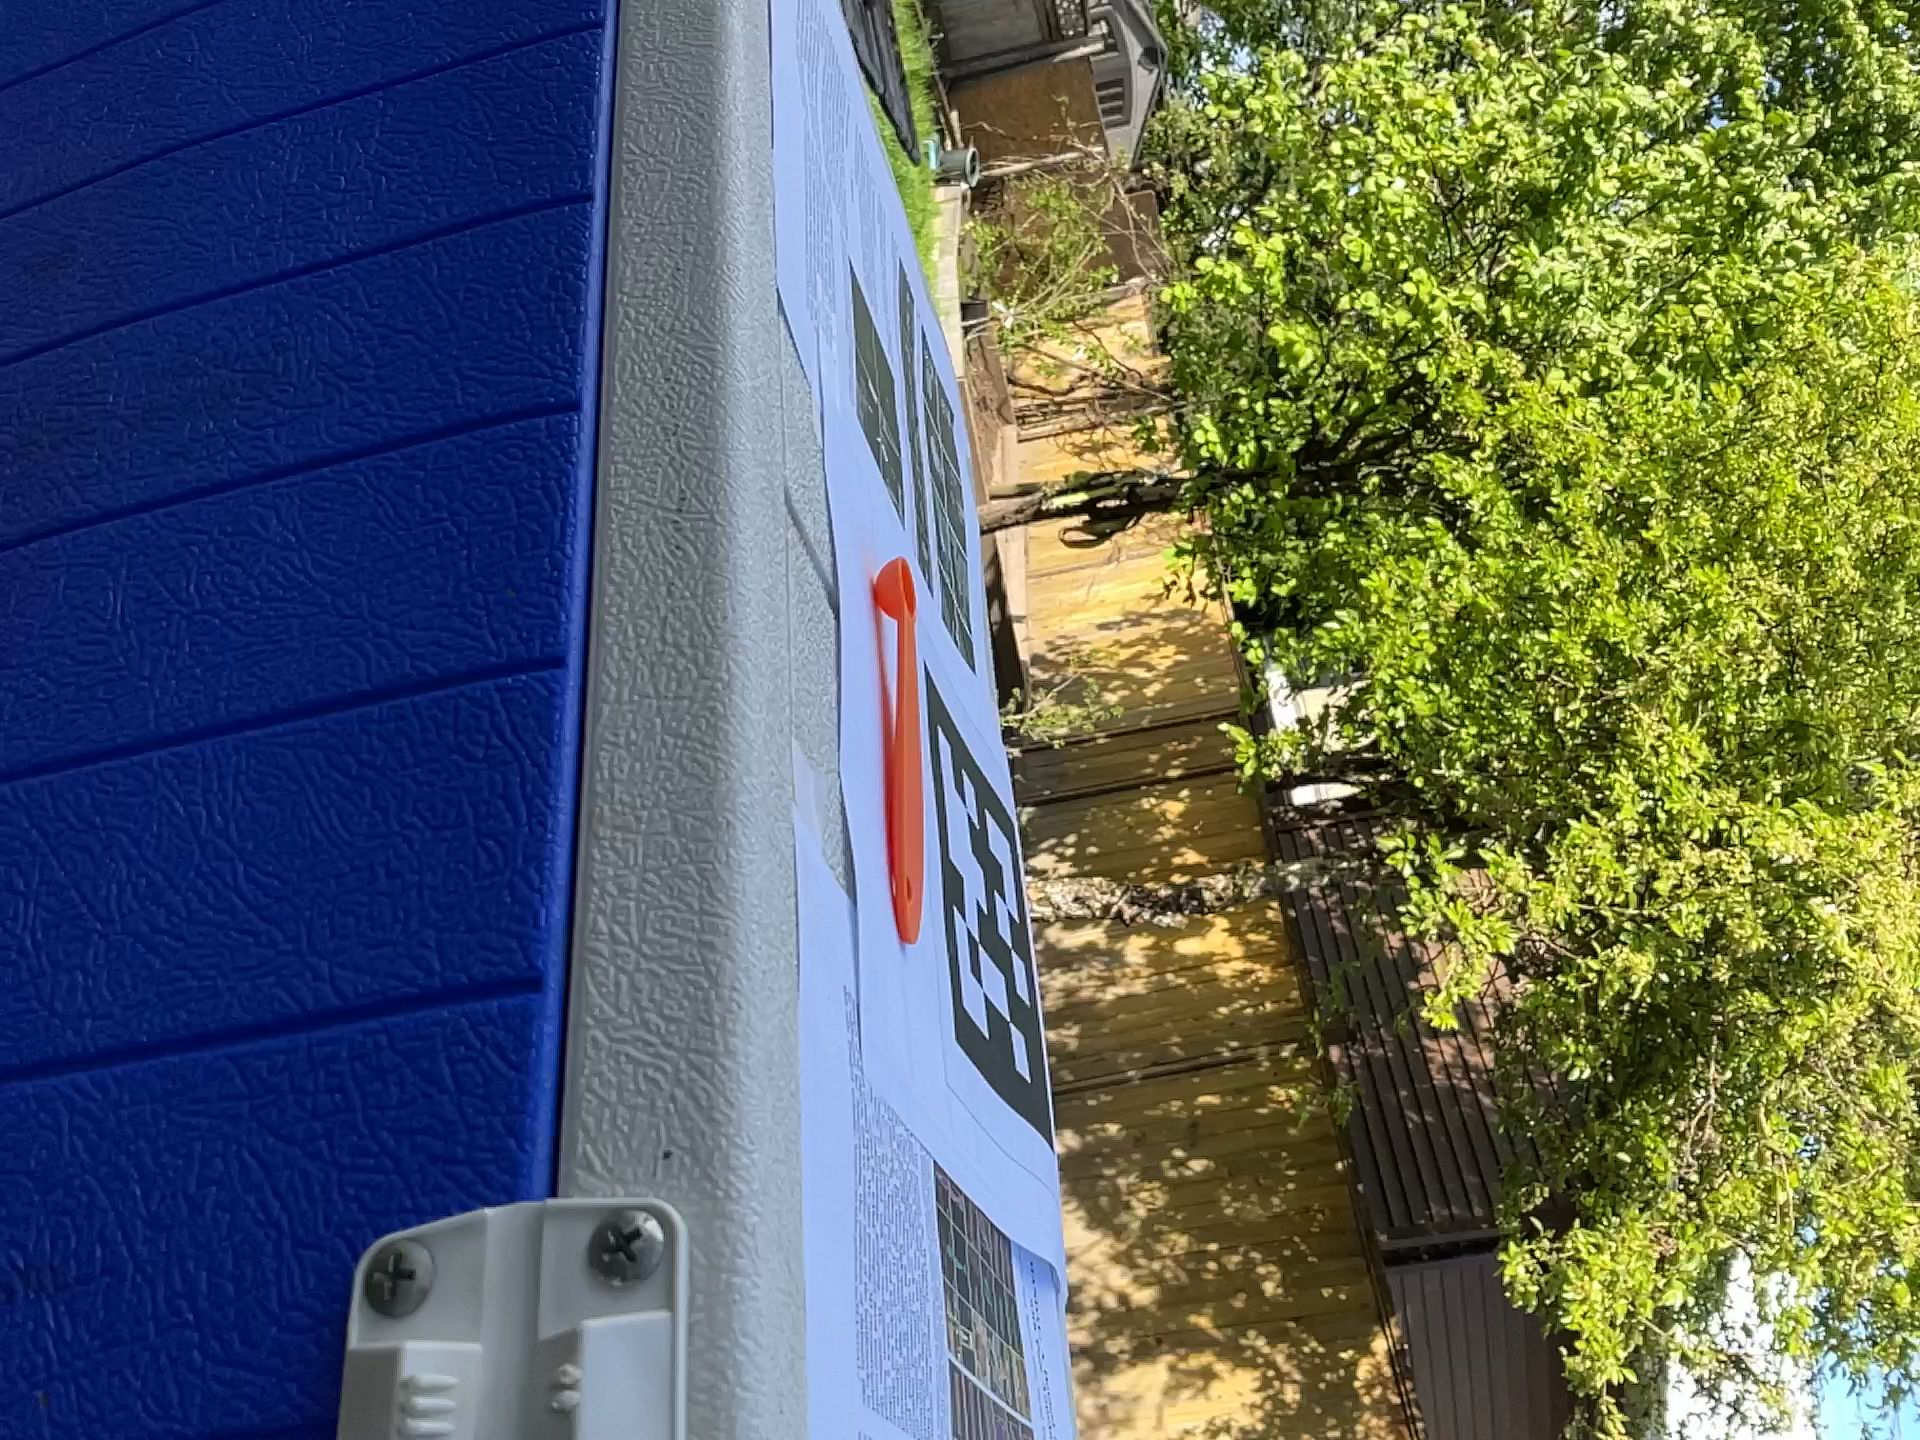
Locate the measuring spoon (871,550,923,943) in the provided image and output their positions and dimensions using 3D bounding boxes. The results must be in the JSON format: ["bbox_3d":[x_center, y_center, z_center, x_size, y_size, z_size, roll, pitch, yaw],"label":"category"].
[{"bbox_3d":[-0.018,0.005,0.429,0.021,0.011,0.117,65,20,-59],"label":"measuring spoon"}]
